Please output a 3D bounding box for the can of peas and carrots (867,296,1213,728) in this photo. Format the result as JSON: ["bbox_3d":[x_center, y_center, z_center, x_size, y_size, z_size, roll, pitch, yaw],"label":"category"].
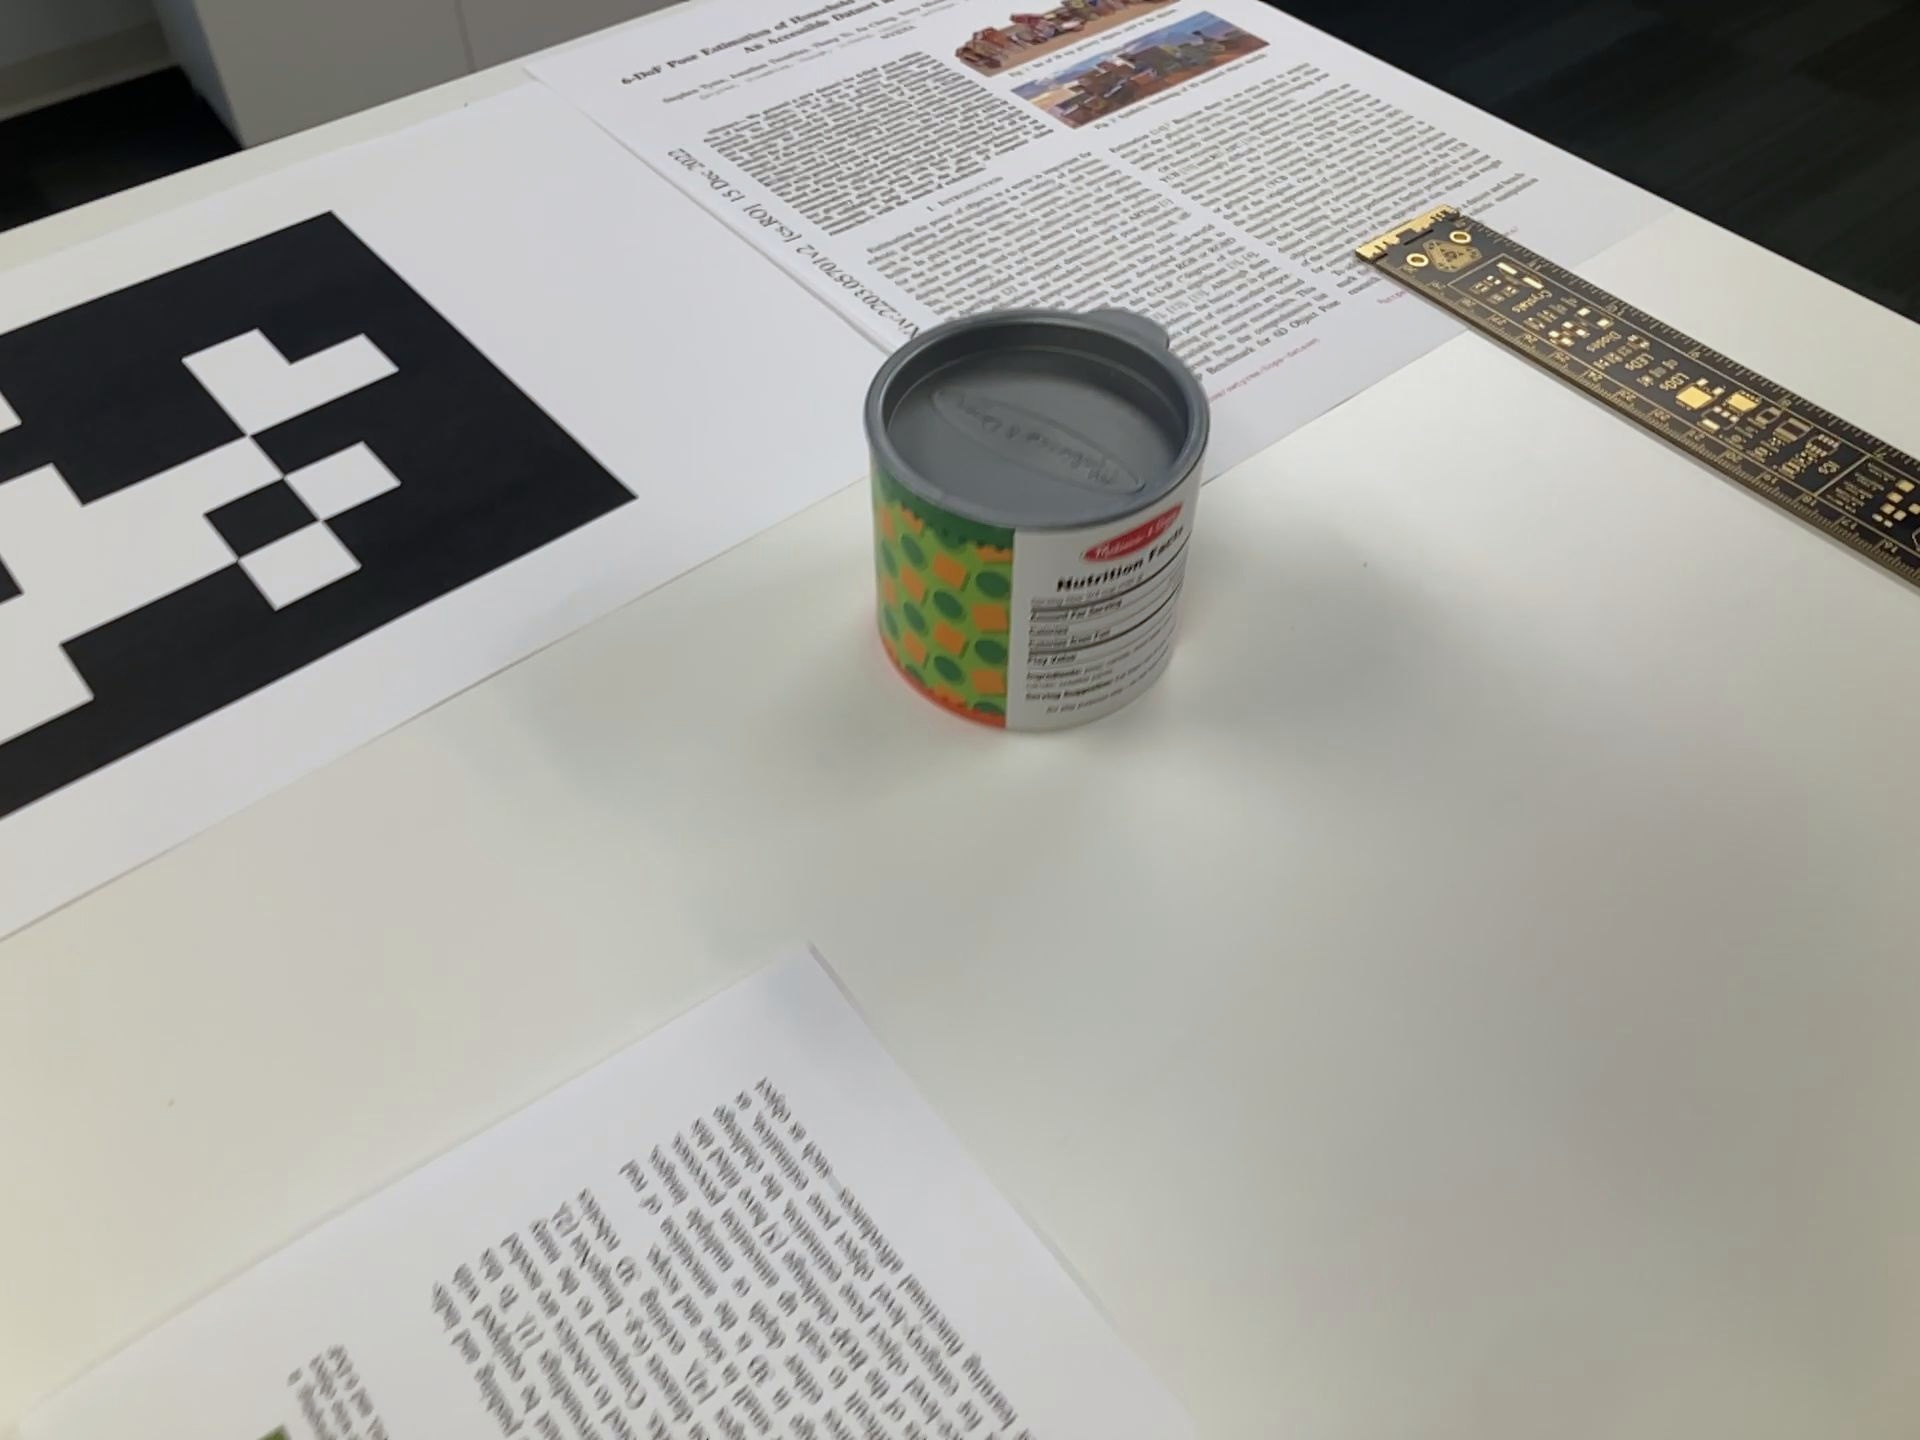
[{"bbox_3d":[0.014,-0.043,0.326,0.071,0.059,0.071,0,49,0],"label":"can of peas and carrots"}]
